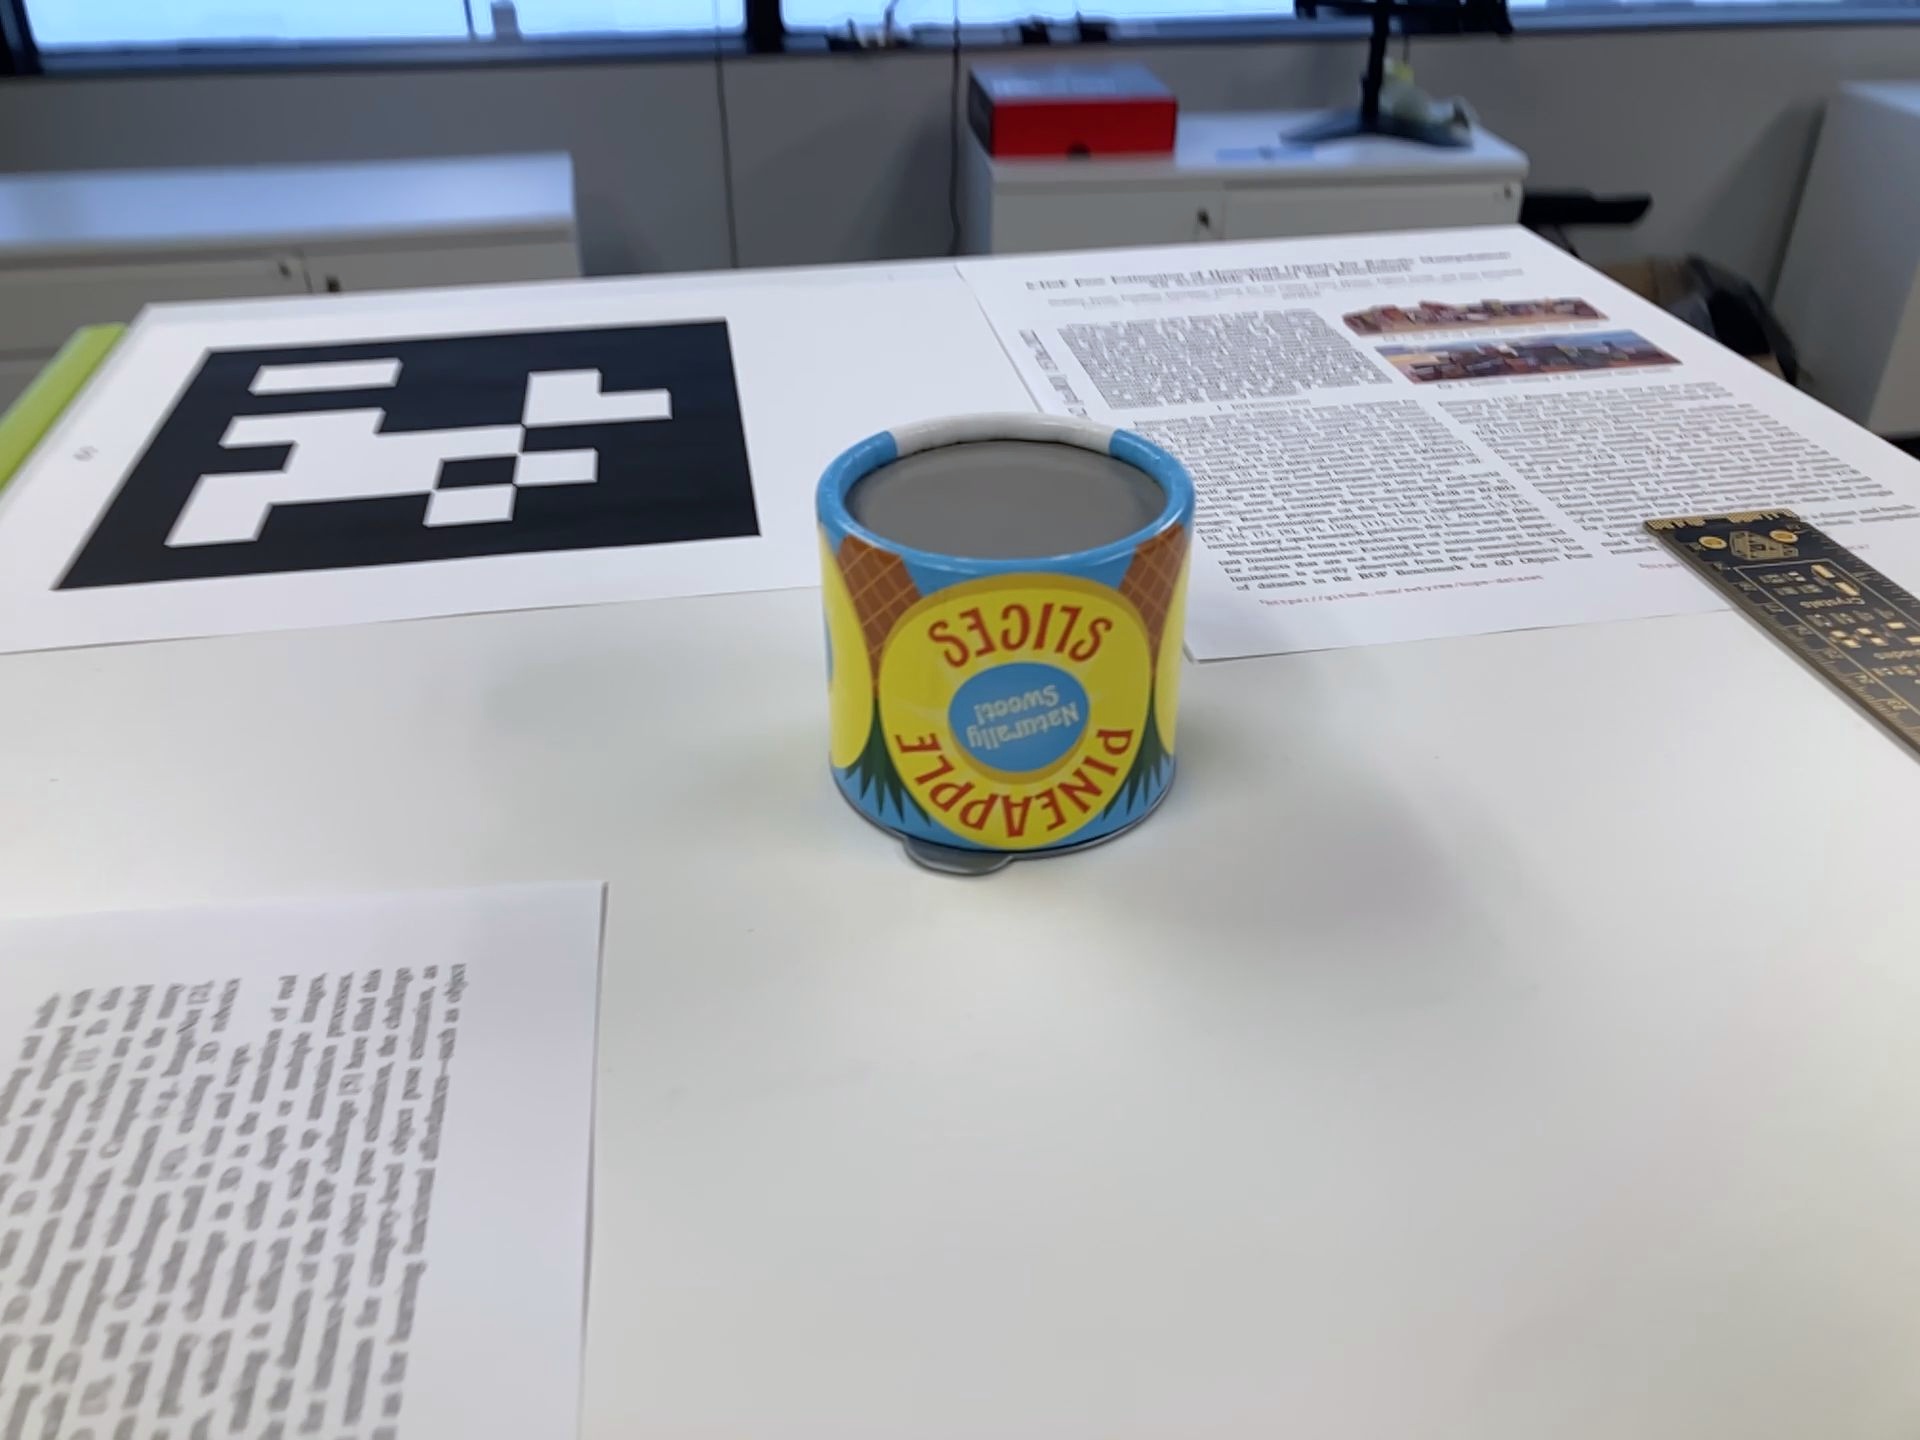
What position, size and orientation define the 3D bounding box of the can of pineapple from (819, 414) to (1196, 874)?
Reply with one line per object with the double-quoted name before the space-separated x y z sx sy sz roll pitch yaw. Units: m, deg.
"can of pineapple" 0.008 -0.016 0.288 0.071 0.058 0.071 0 33 0
